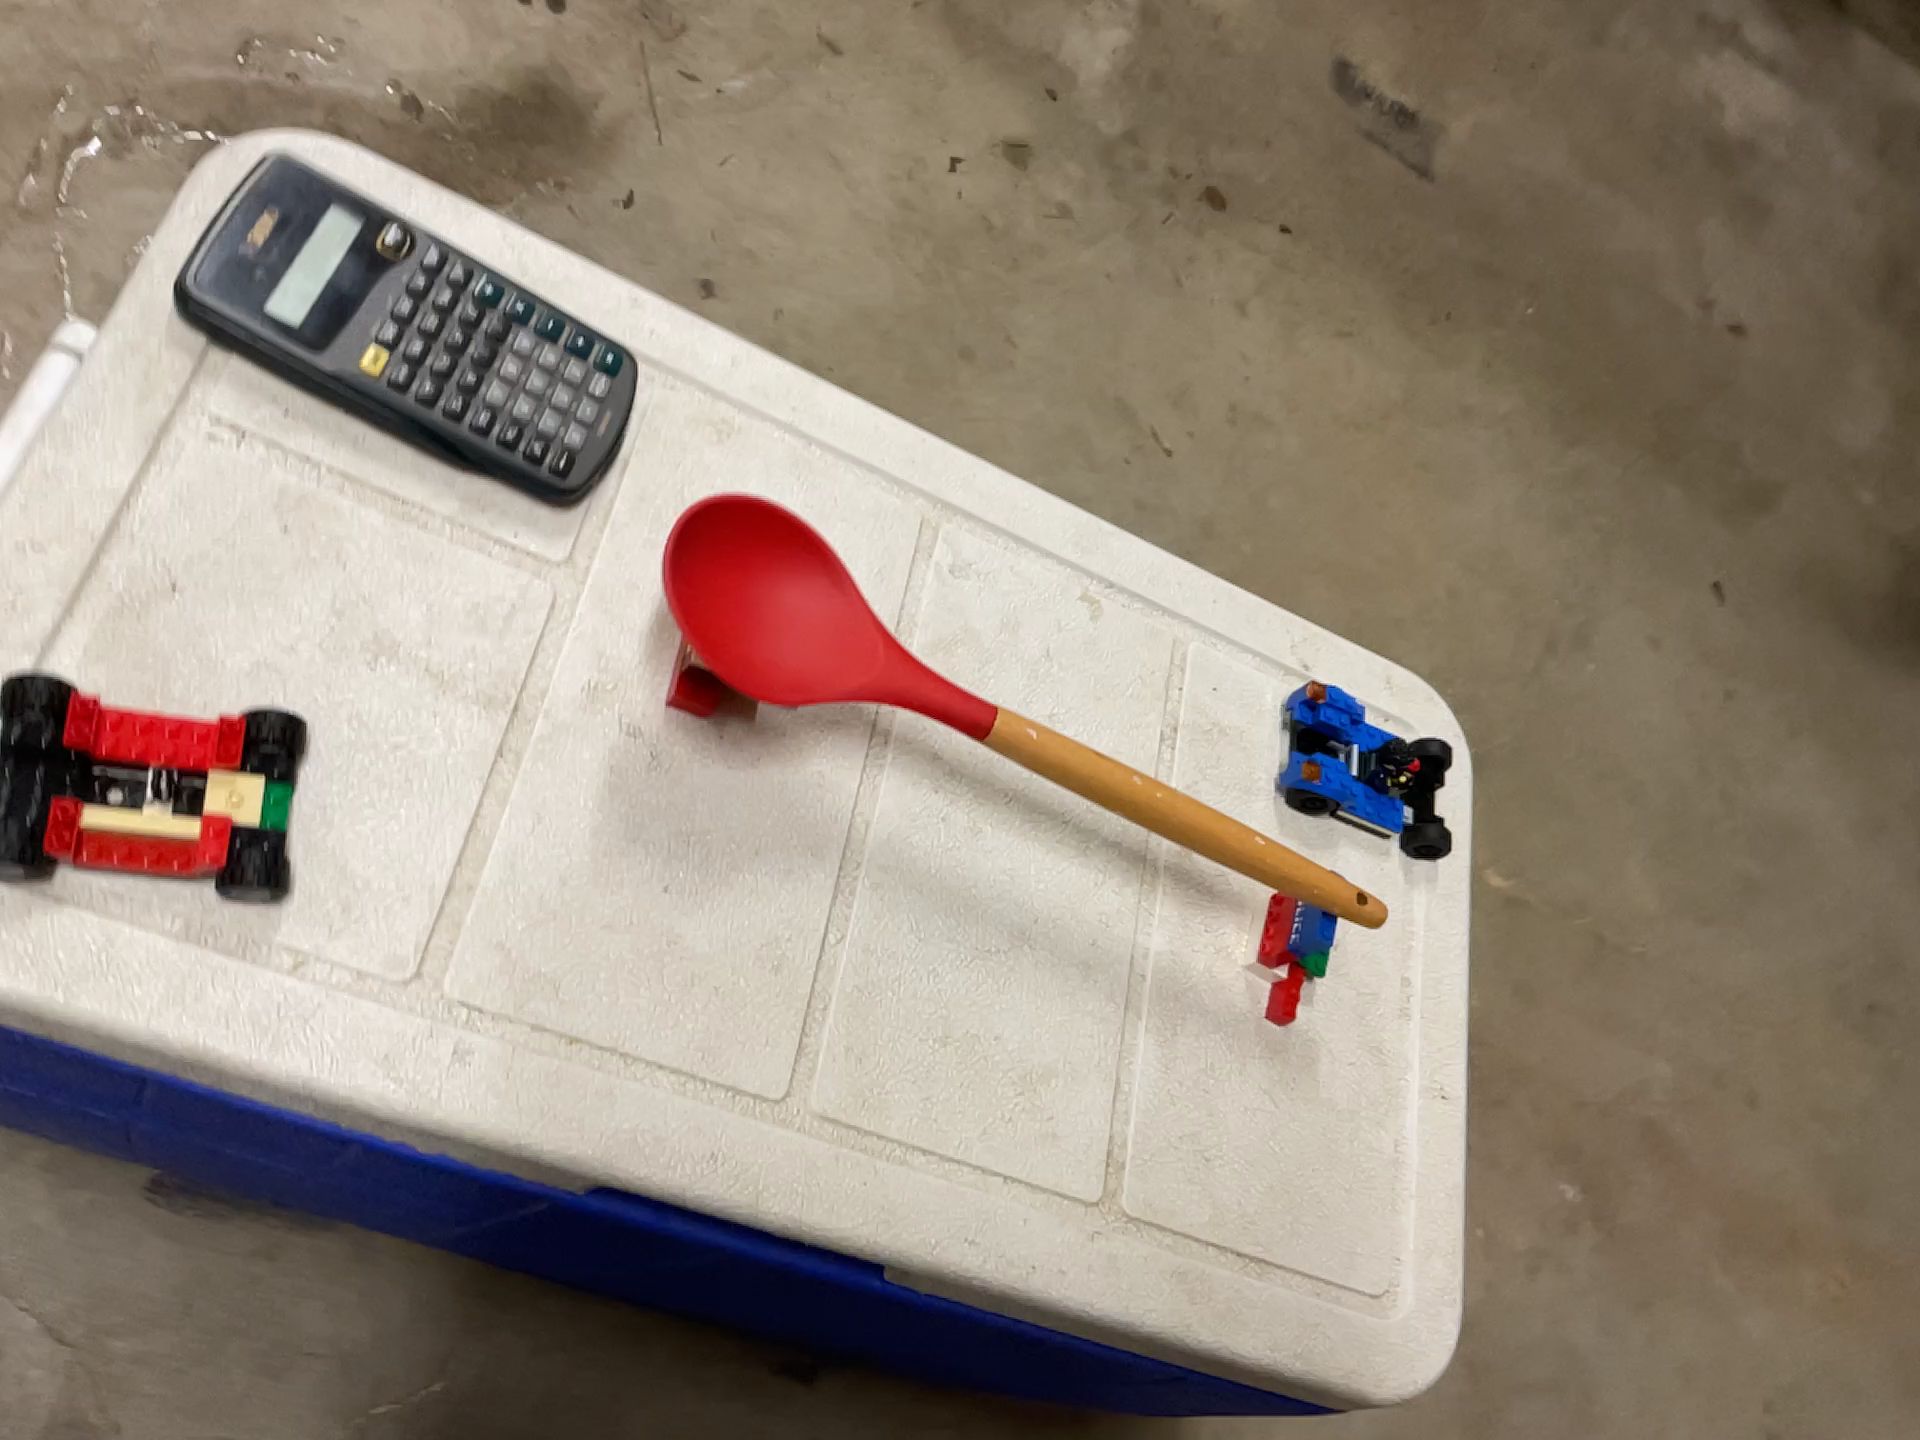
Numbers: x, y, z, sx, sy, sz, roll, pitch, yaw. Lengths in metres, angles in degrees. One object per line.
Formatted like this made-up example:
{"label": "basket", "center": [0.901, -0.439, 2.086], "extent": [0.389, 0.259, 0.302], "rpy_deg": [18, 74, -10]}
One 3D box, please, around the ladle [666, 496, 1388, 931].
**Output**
{"label": "ladle", "center": [0.033, 0.011, 0.582], "extent": [0.315, 0.031, 0.069], "rpy_deg": [27, 63, -19]}
